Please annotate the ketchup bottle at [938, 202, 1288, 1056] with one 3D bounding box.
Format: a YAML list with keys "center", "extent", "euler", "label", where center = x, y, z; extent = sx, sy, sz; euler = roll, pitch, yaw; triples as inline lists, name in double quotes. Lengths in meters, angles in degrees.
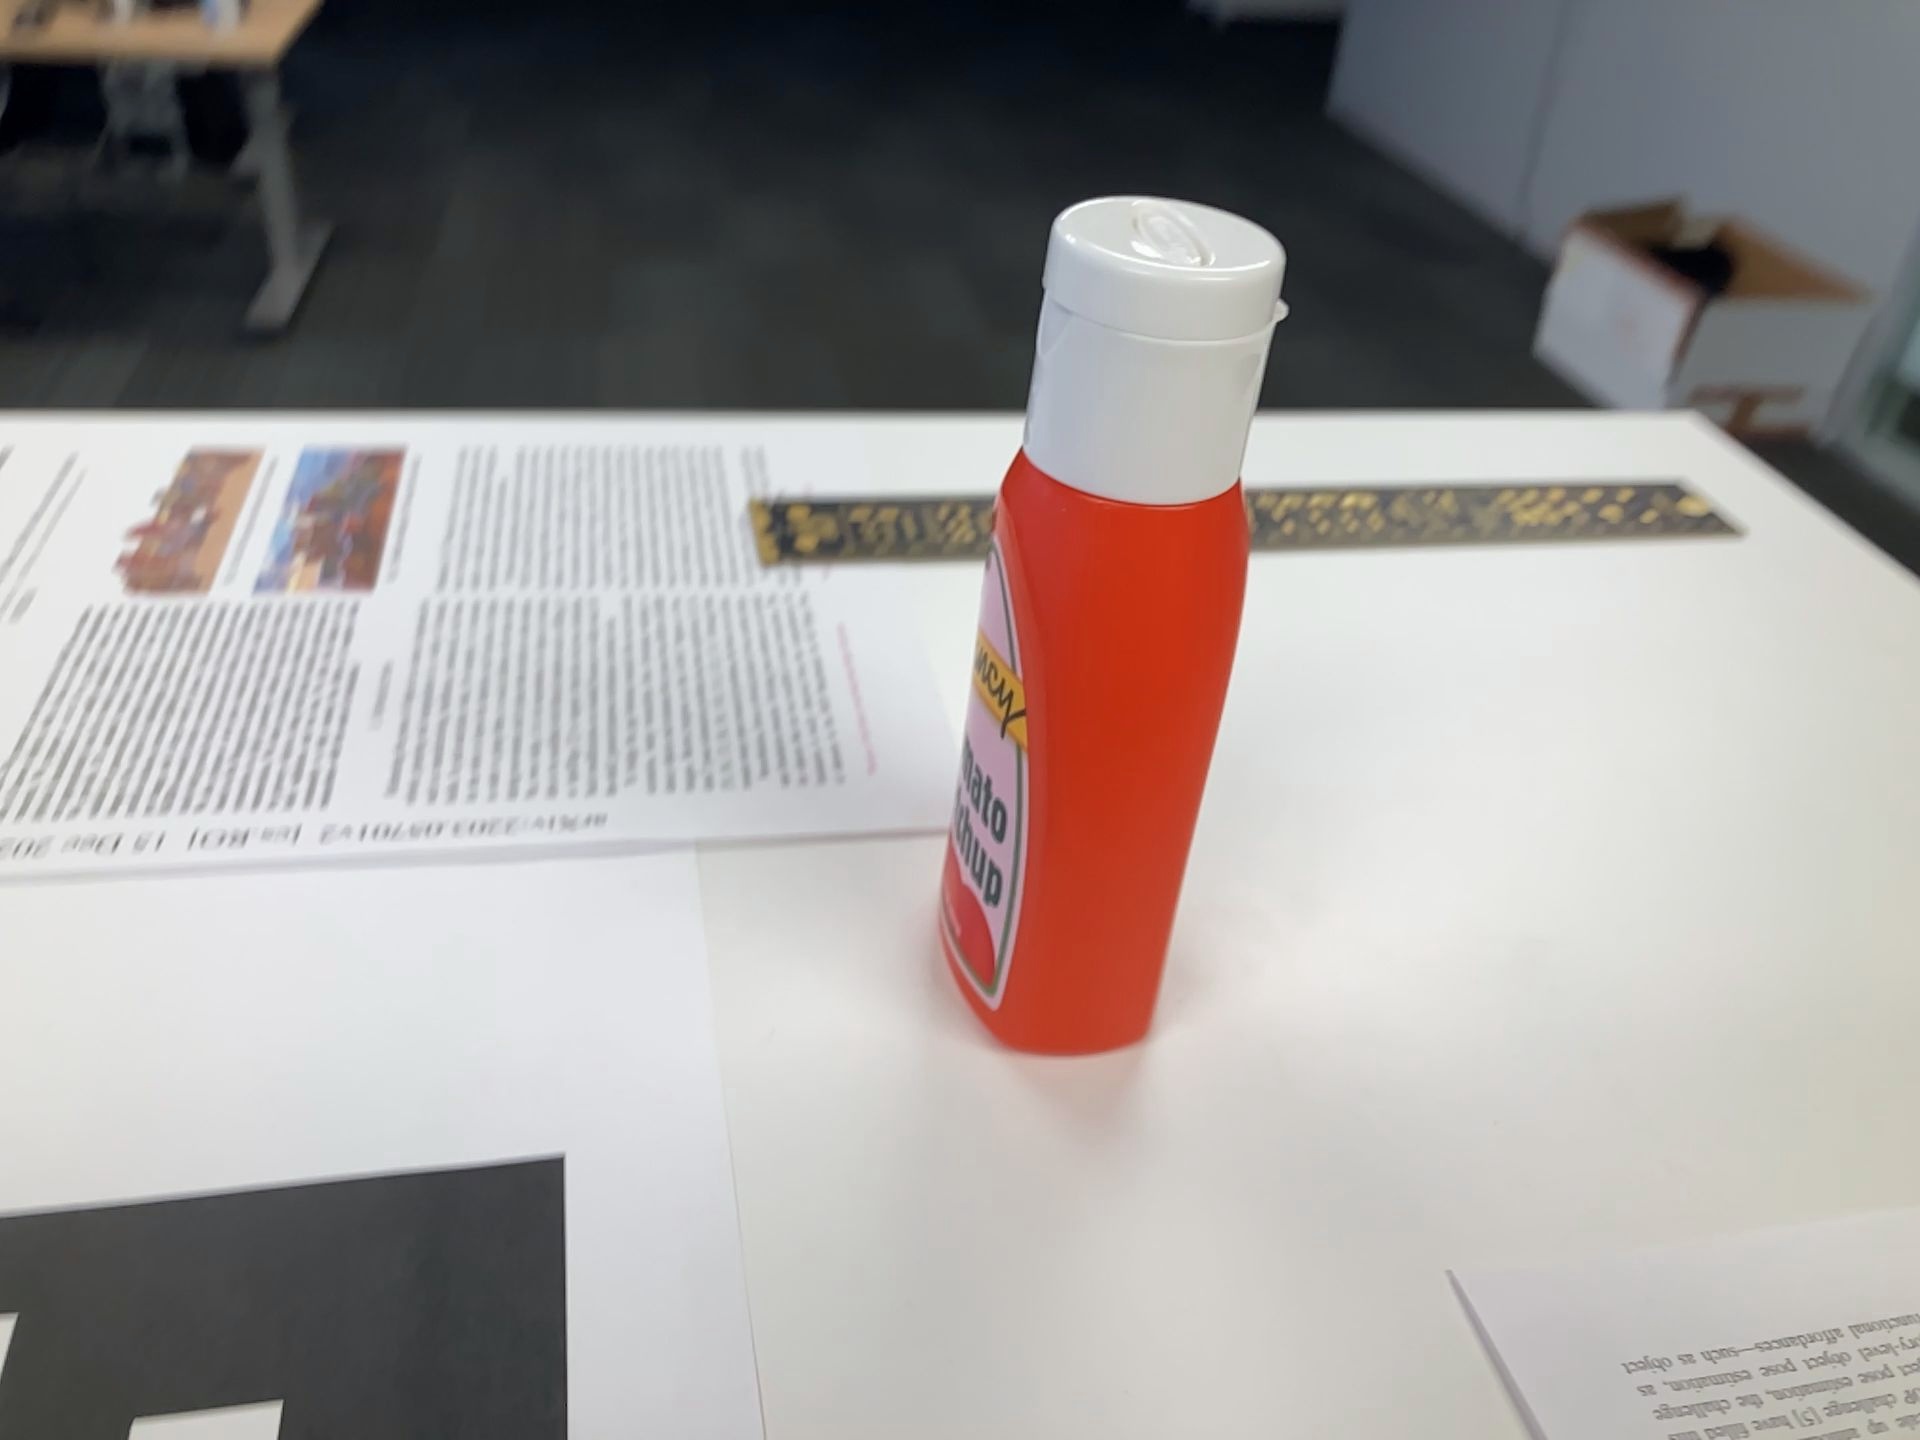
- center: [0.025, -0.013, 0.286]
  extent: [0.043, 0.149, 0.065]
  euler: [0, 34, -12]
  label: "ketchup bottle"
